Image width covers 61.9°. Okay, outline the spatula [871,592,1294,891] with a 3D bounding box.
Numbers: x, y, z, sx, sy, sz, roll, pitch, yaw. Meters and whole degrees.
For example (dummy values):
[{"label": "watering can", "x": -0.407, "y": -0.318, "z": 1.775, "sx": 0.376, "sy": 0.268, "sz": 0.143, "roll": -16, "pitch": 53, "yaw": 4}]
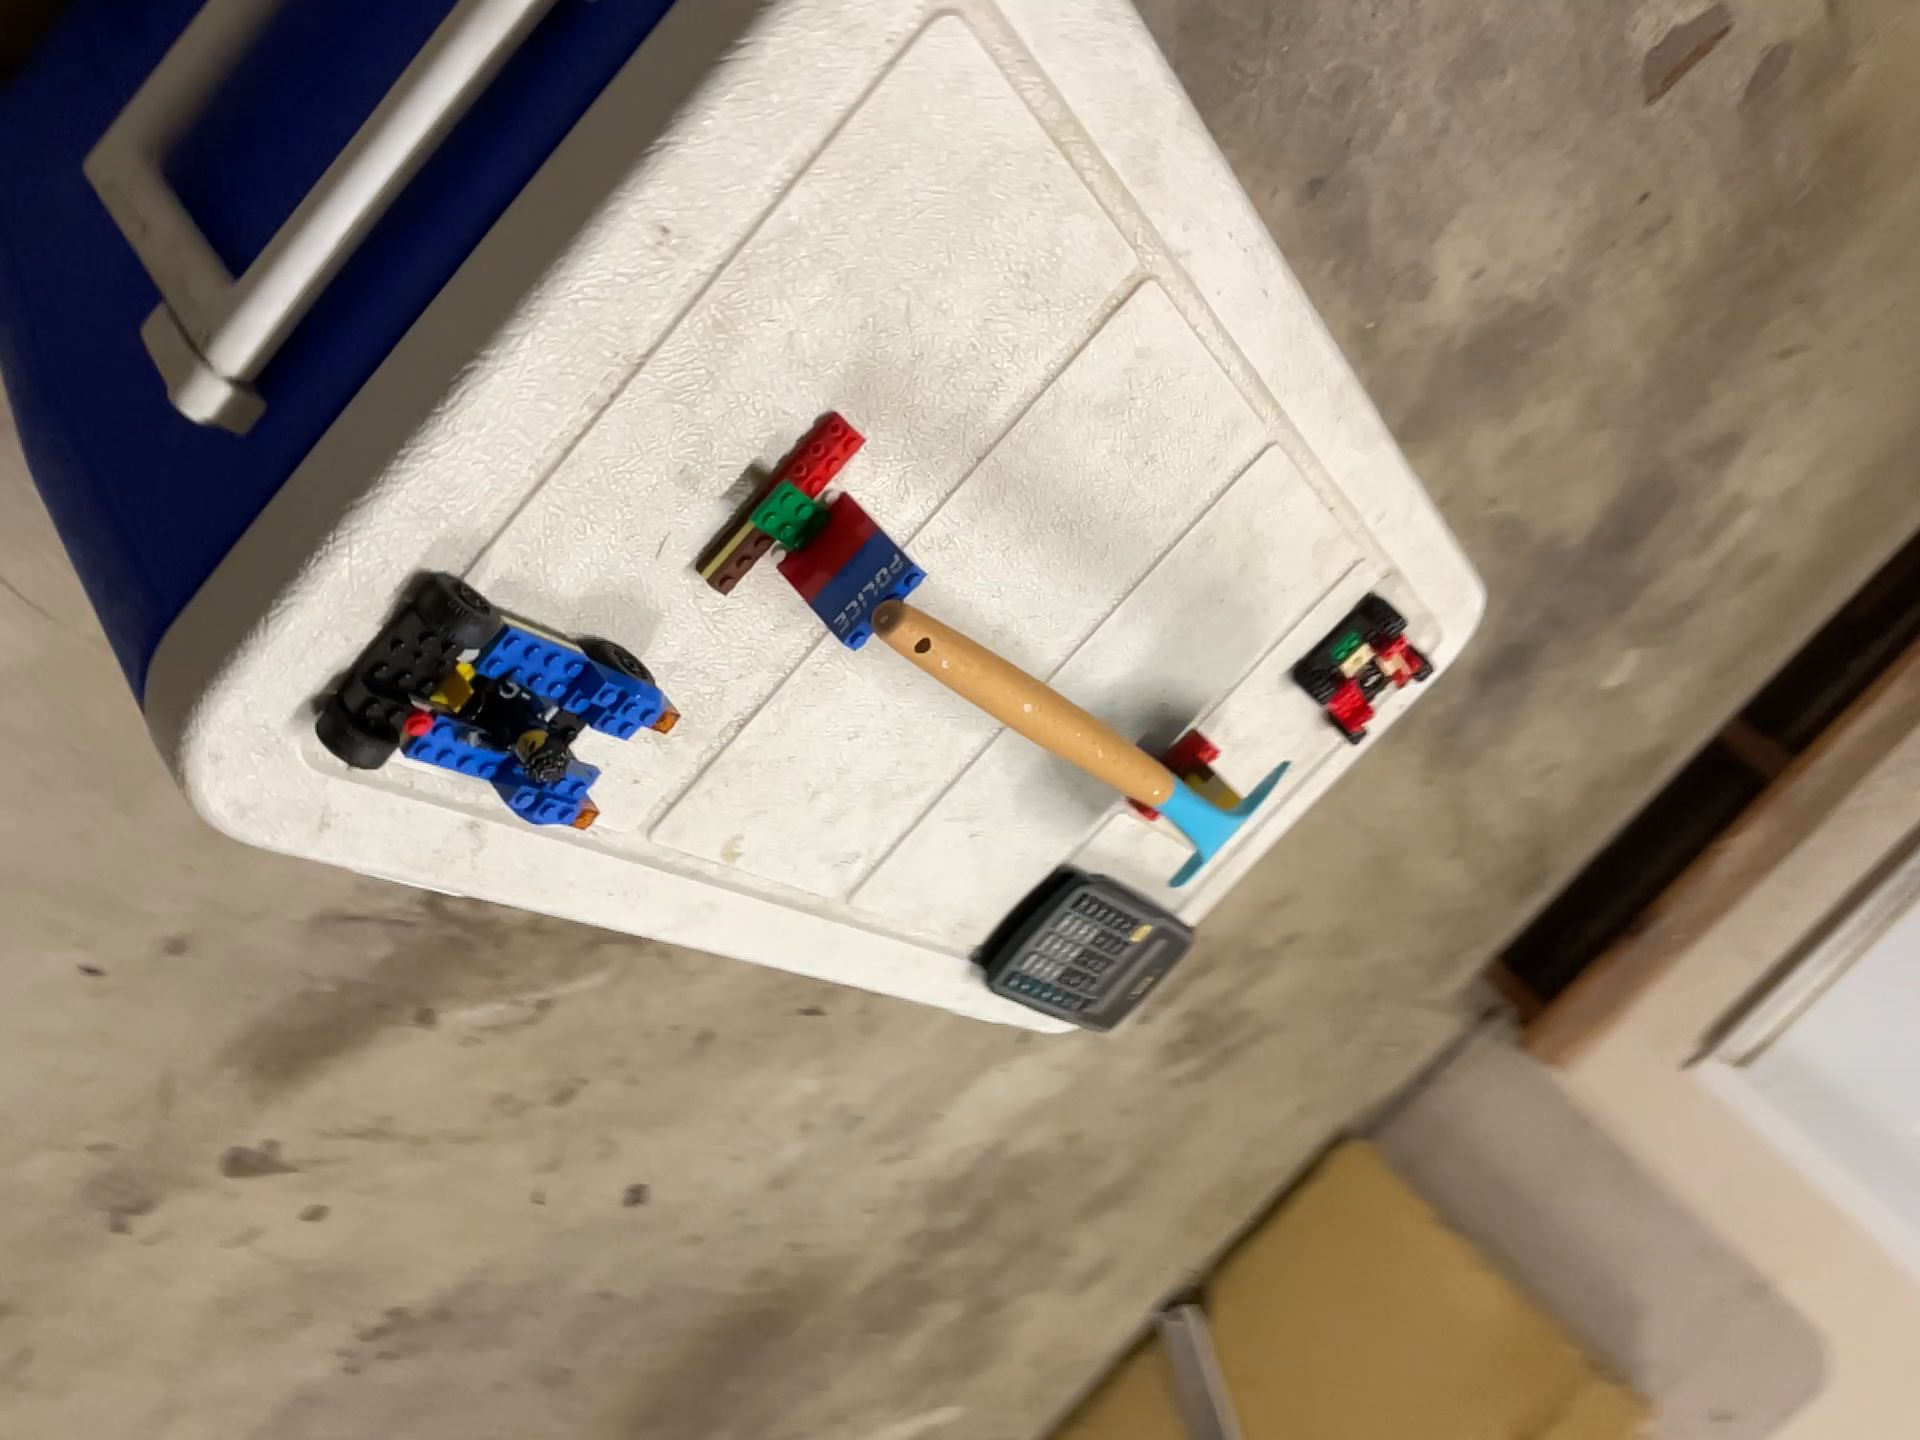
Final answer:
[{"label": "spatula", "x": 0.054, "y": 0.011, "z": 0.591, "sx": 0.082, "sy": 0.044, "sz": 0.318, "roll": -47, "pitch": 144, "yaw": 9}]
